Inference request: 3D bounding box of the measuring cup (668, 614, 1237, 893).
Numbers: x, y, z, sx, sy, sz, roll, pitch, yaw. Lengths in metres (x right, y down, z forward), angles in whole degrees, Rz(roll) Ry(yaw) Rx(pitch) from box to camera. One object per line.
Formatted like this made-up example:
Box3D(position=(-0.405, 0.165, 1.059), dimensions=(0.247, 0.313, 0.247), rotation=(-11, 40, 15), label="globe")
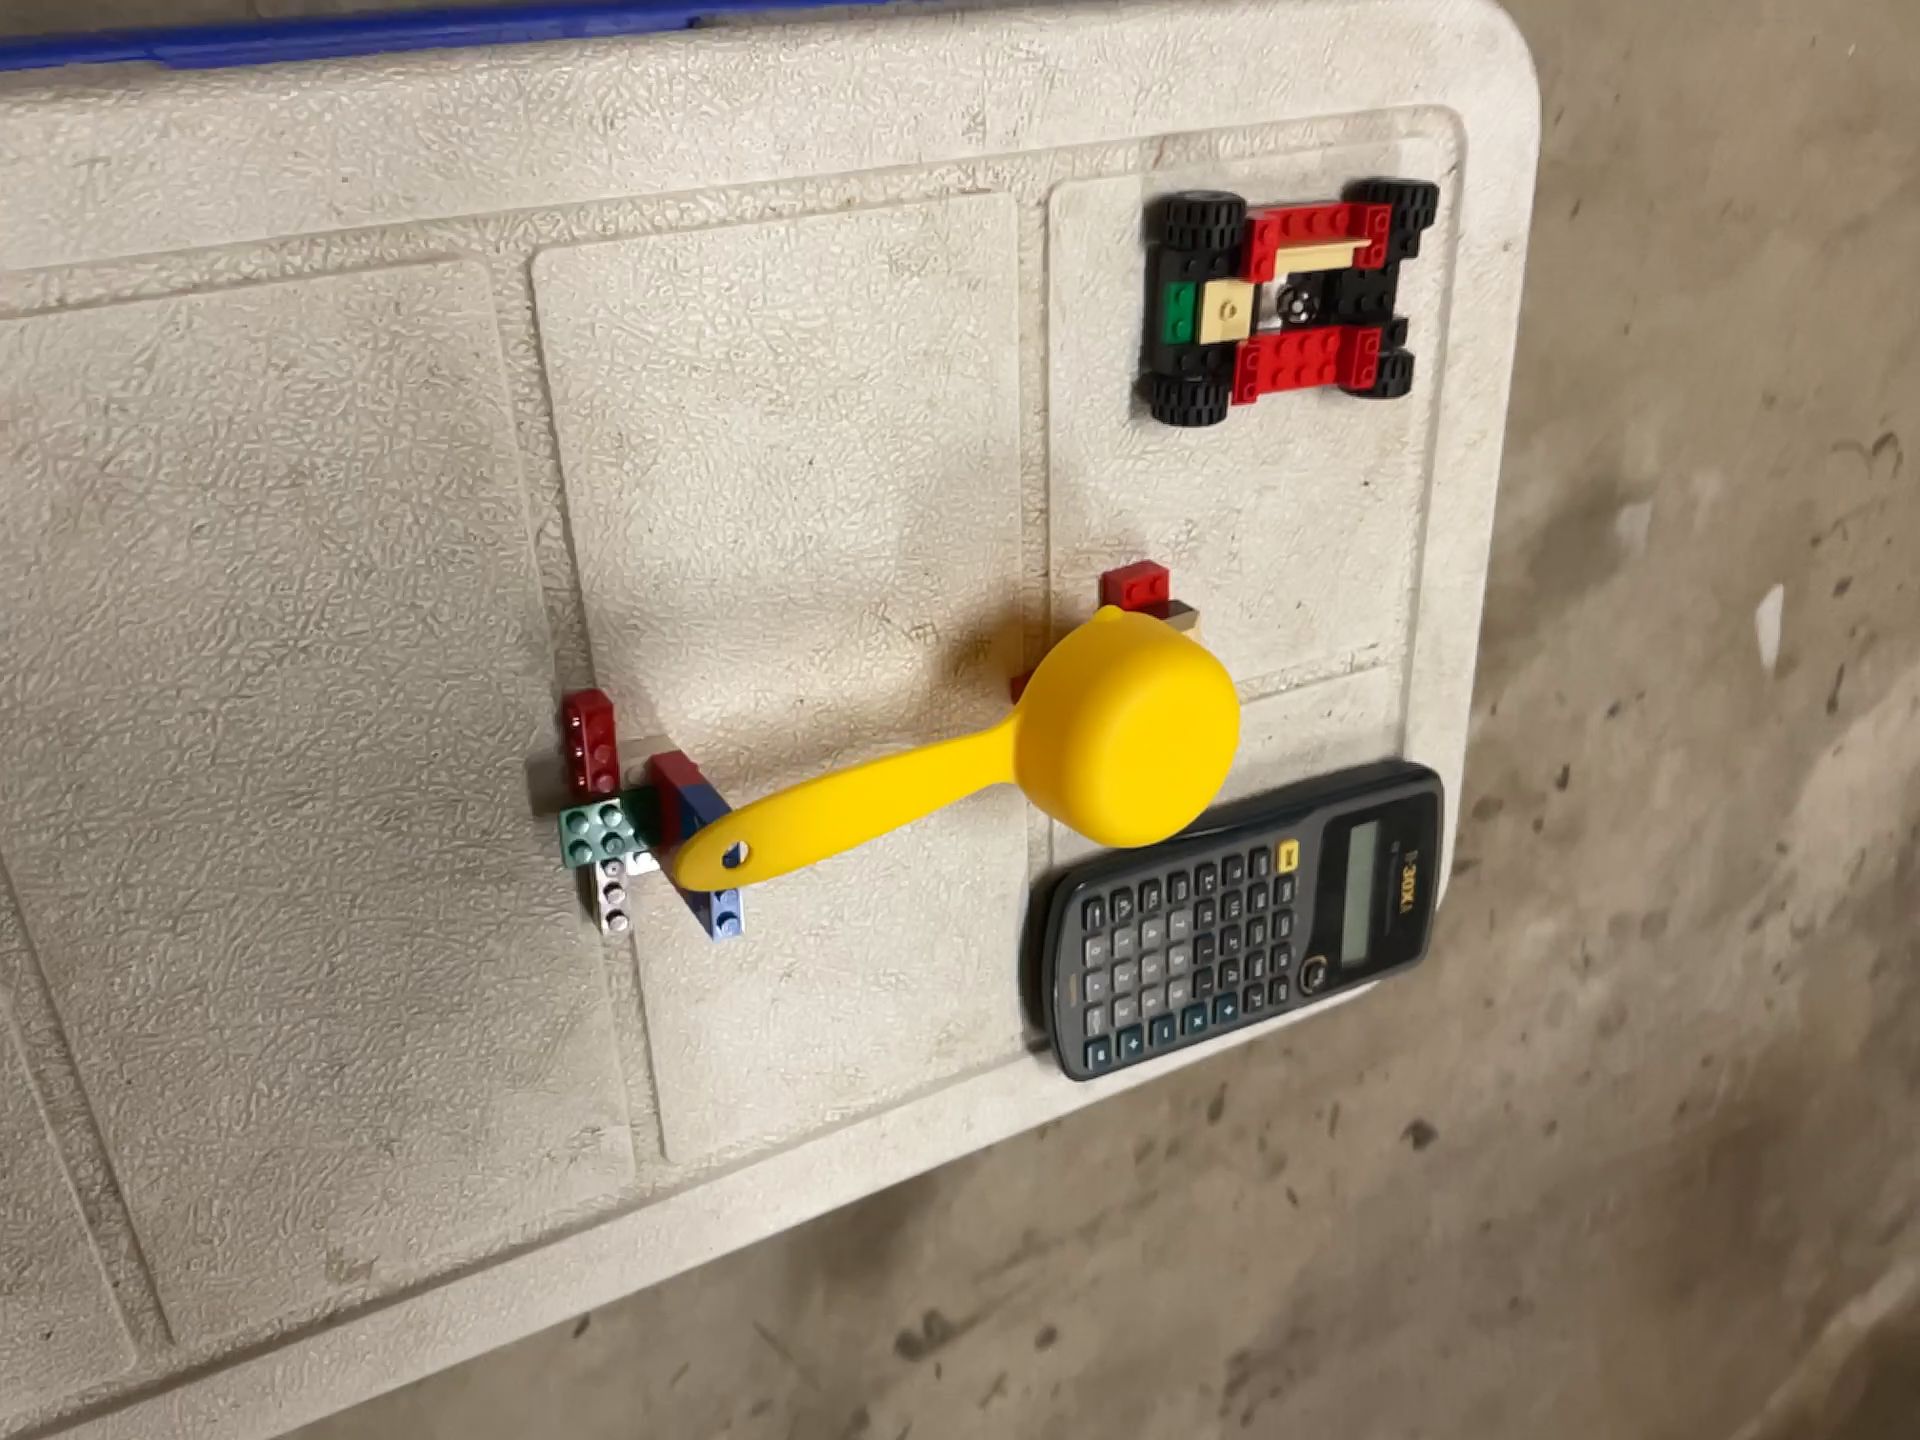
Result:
Box3D(position=(0.005, 0.018, 0.392), dimensions=(0.156, 0.029, 0.062), rotation=(-18, 121, -30), label="measuring cup")
